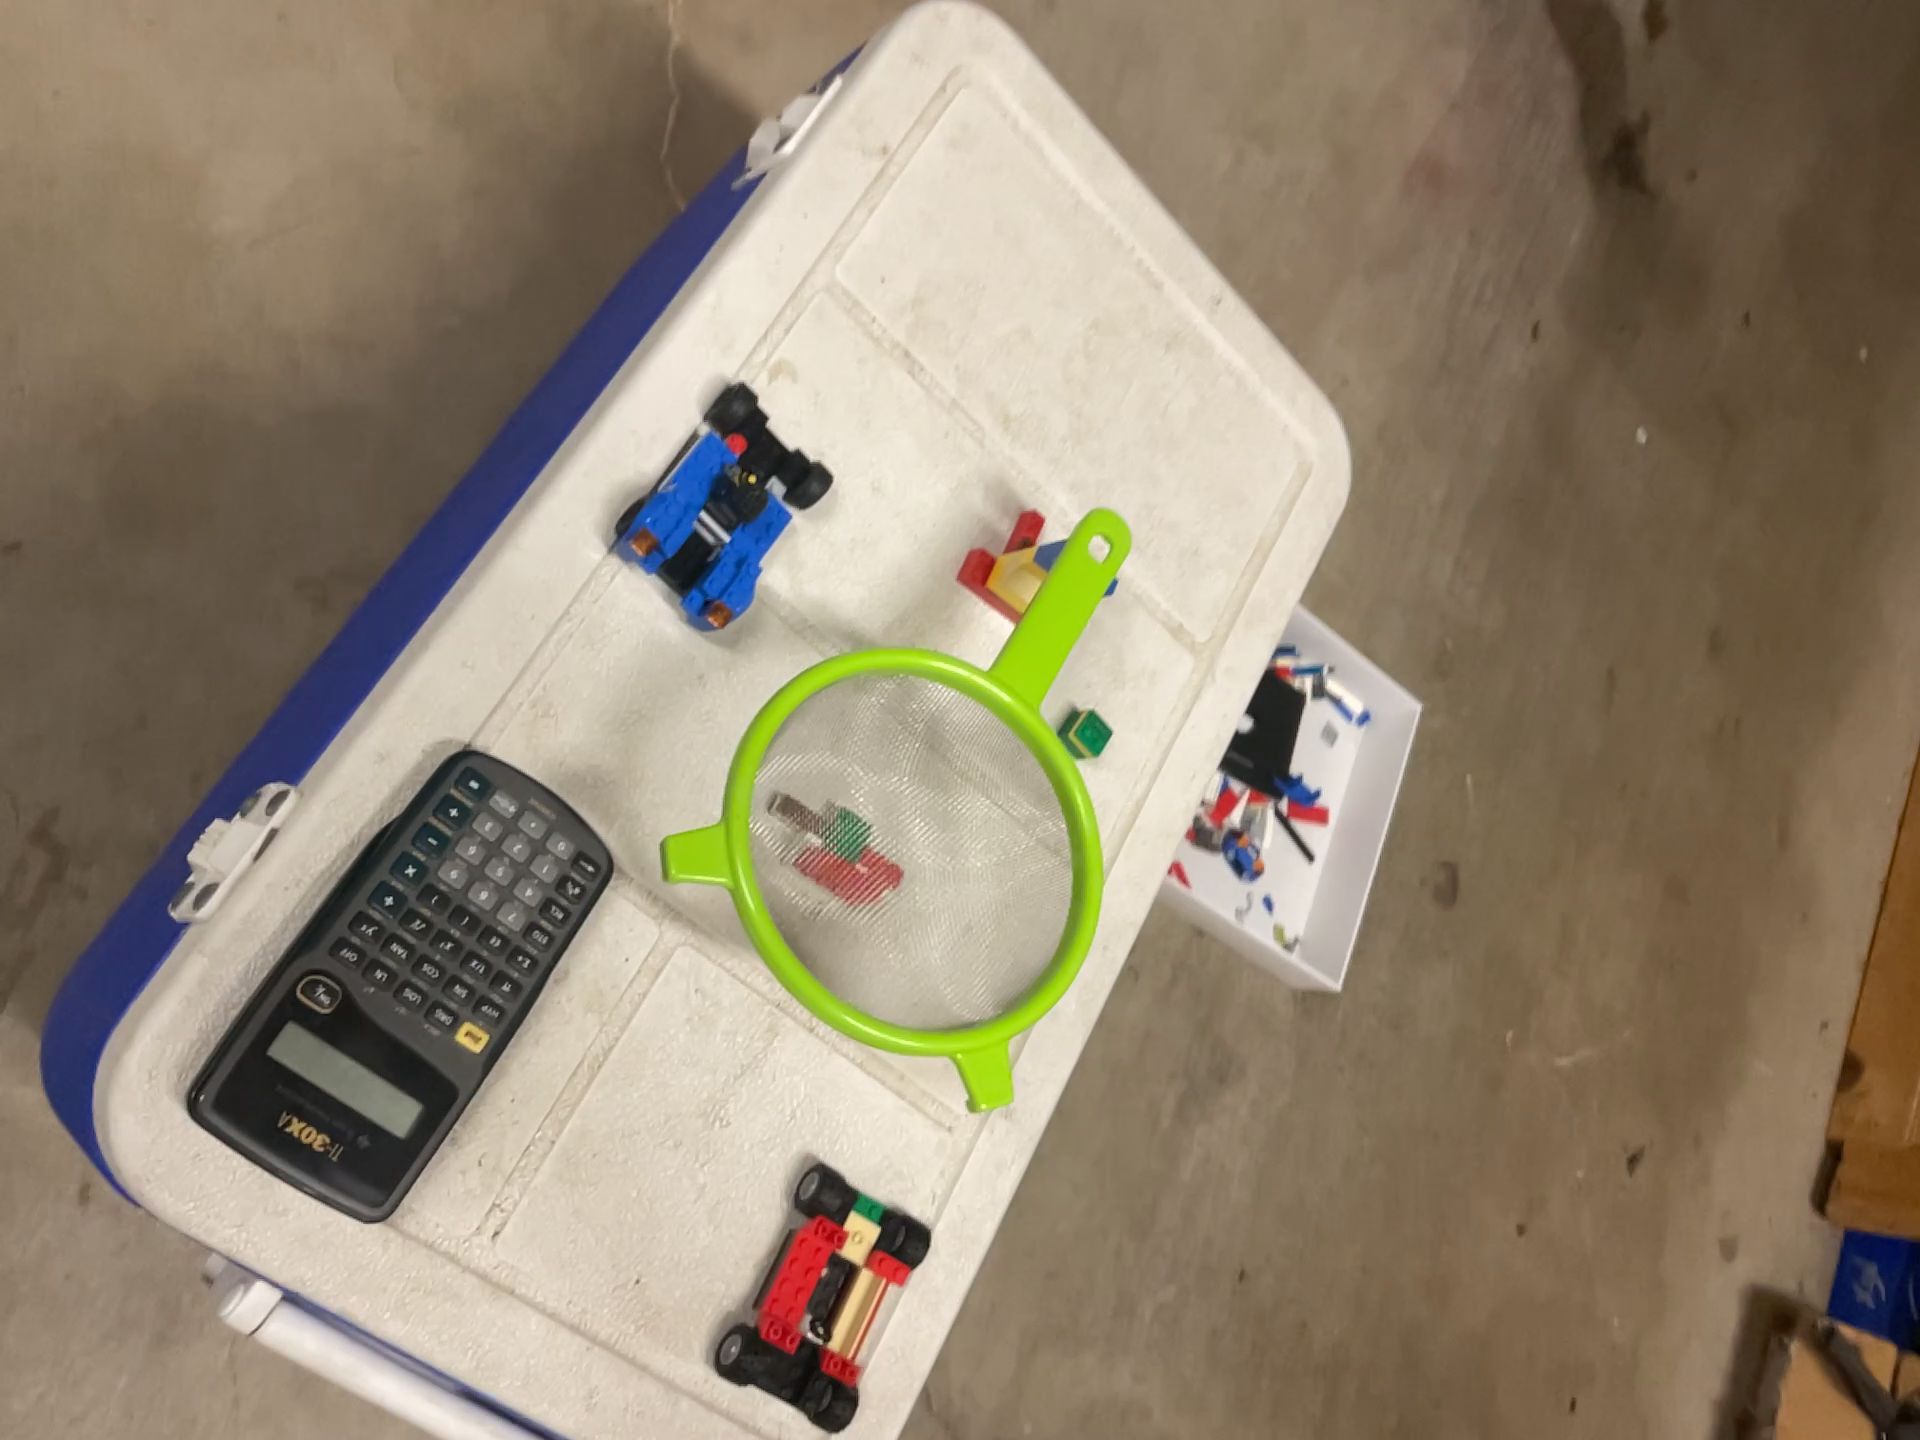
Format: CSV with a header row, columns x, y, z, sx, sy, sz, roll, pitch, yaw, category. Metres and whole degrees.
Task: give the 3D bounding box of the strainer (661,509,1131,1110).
x,y,z,sx,sy,sz,roll,pitch,yaw,category
-0.003,0.015,0.626,0.151,0.069,0.257,39,56,-11,strainer
